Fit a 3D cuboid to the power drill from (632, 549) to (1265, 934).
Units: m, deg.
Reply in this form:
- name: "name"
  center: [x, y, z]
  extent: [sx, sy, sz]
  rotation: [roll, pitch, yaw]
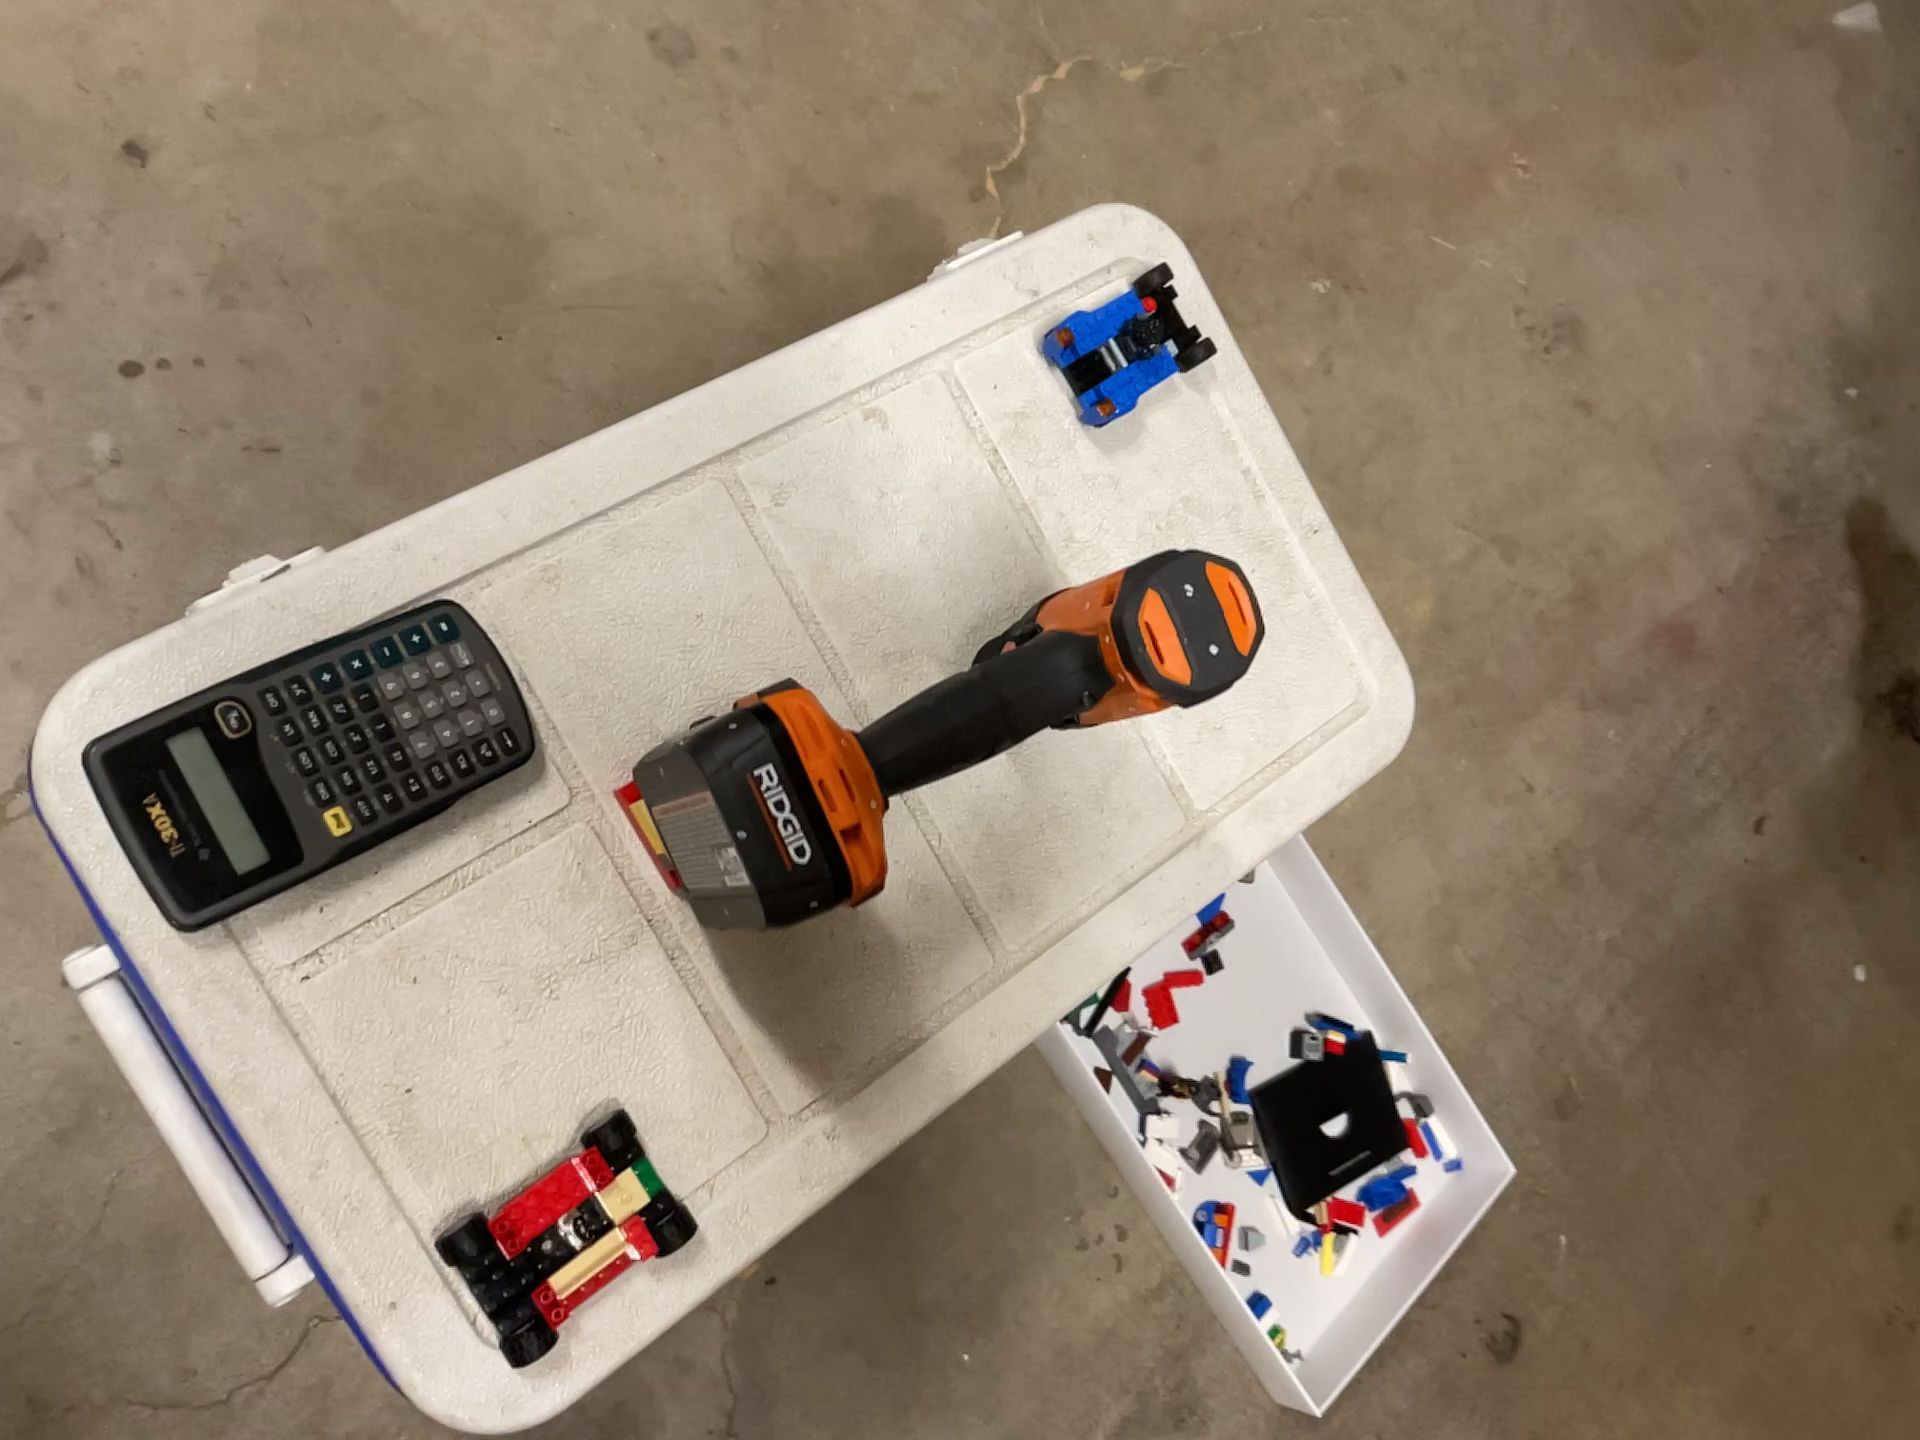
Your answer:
- name: "power drill"
  center: [-0.013, 0.004, 0.646]
  extent: [0.226, 0.185, 0.084]
  rotation: [-25, 95, -23]
